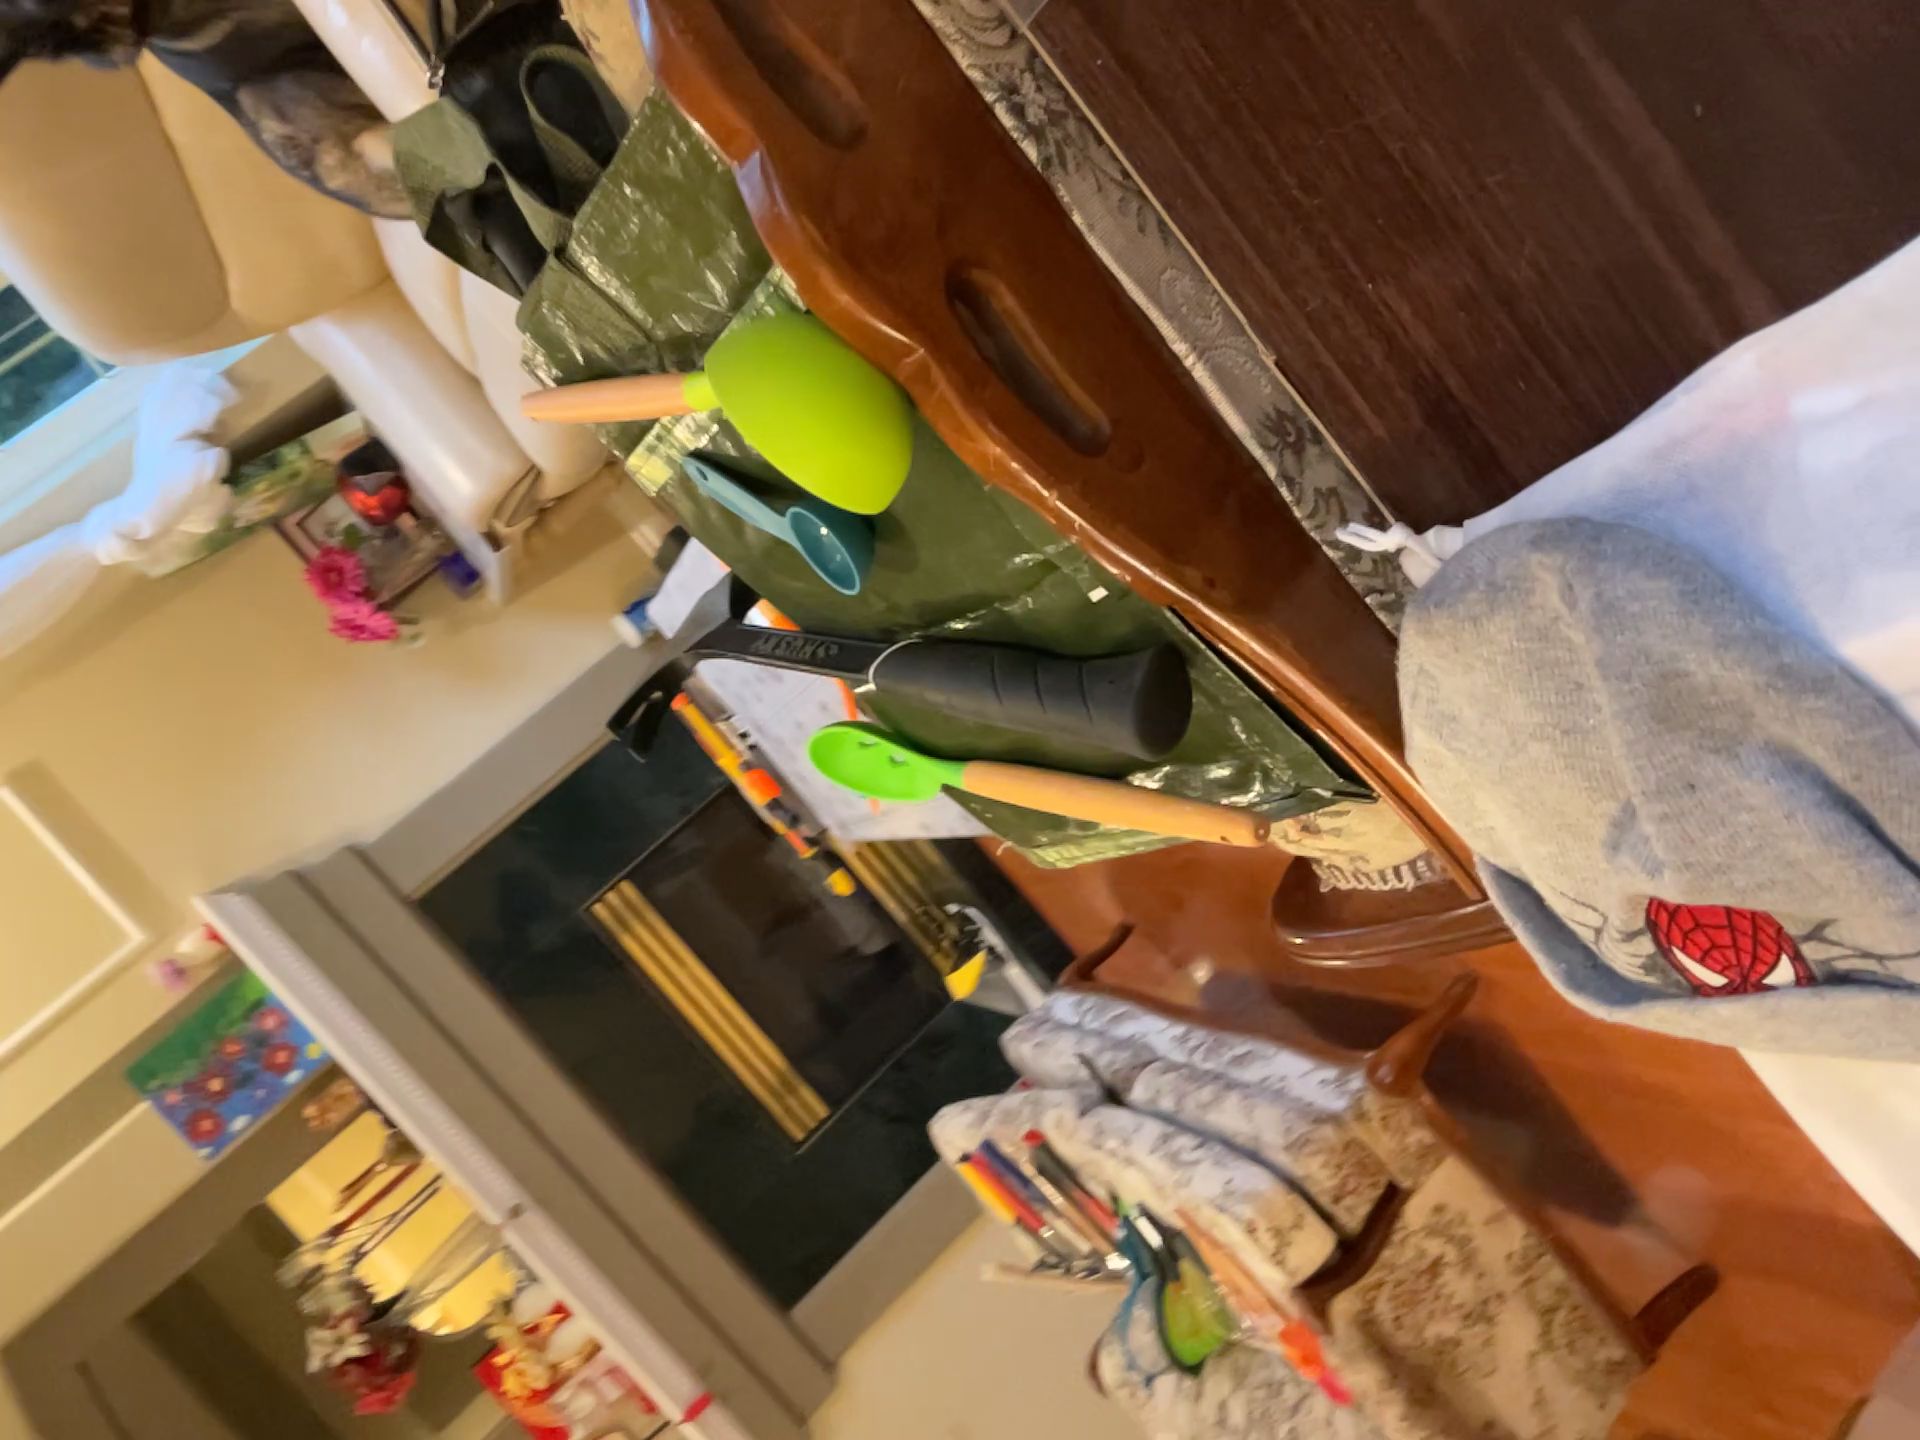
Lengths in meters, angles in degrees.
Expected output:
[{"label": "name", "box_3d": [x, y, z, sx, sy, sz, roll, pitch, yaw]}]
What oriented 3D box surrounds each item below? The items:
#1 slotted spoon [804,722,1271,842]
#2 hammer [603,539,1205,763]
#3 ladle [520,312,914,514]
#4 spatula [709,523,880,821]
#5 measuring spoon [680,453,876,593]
[{"label": "slotted spoon", "box_3d": [0.024, 0.029, 0.725, 0.070, 0.031, 0.314, 40, 161, -31]}, {"label": "hammer", "box_3d": [-0.039, -0.023, 0.719, 0.036, 0.149, 0.409, 47, 160, -30]}, {"label": "ladle", "box_3d": [-0.120, -0.120, 0.635, 0.078, 0.062, 0.320, 28, 171, -35]}, {"label": "spatula", "box_3d": [-0.134, -0.077, 0.972, 0.322, 0.041, 0.081, 51, 172, 3]}, {"label": "measuring spoon", "box_3d": [-0.075, -0.091, 0.654, 0.129, 0.021, 0.042, 34, 157, 40]}]
